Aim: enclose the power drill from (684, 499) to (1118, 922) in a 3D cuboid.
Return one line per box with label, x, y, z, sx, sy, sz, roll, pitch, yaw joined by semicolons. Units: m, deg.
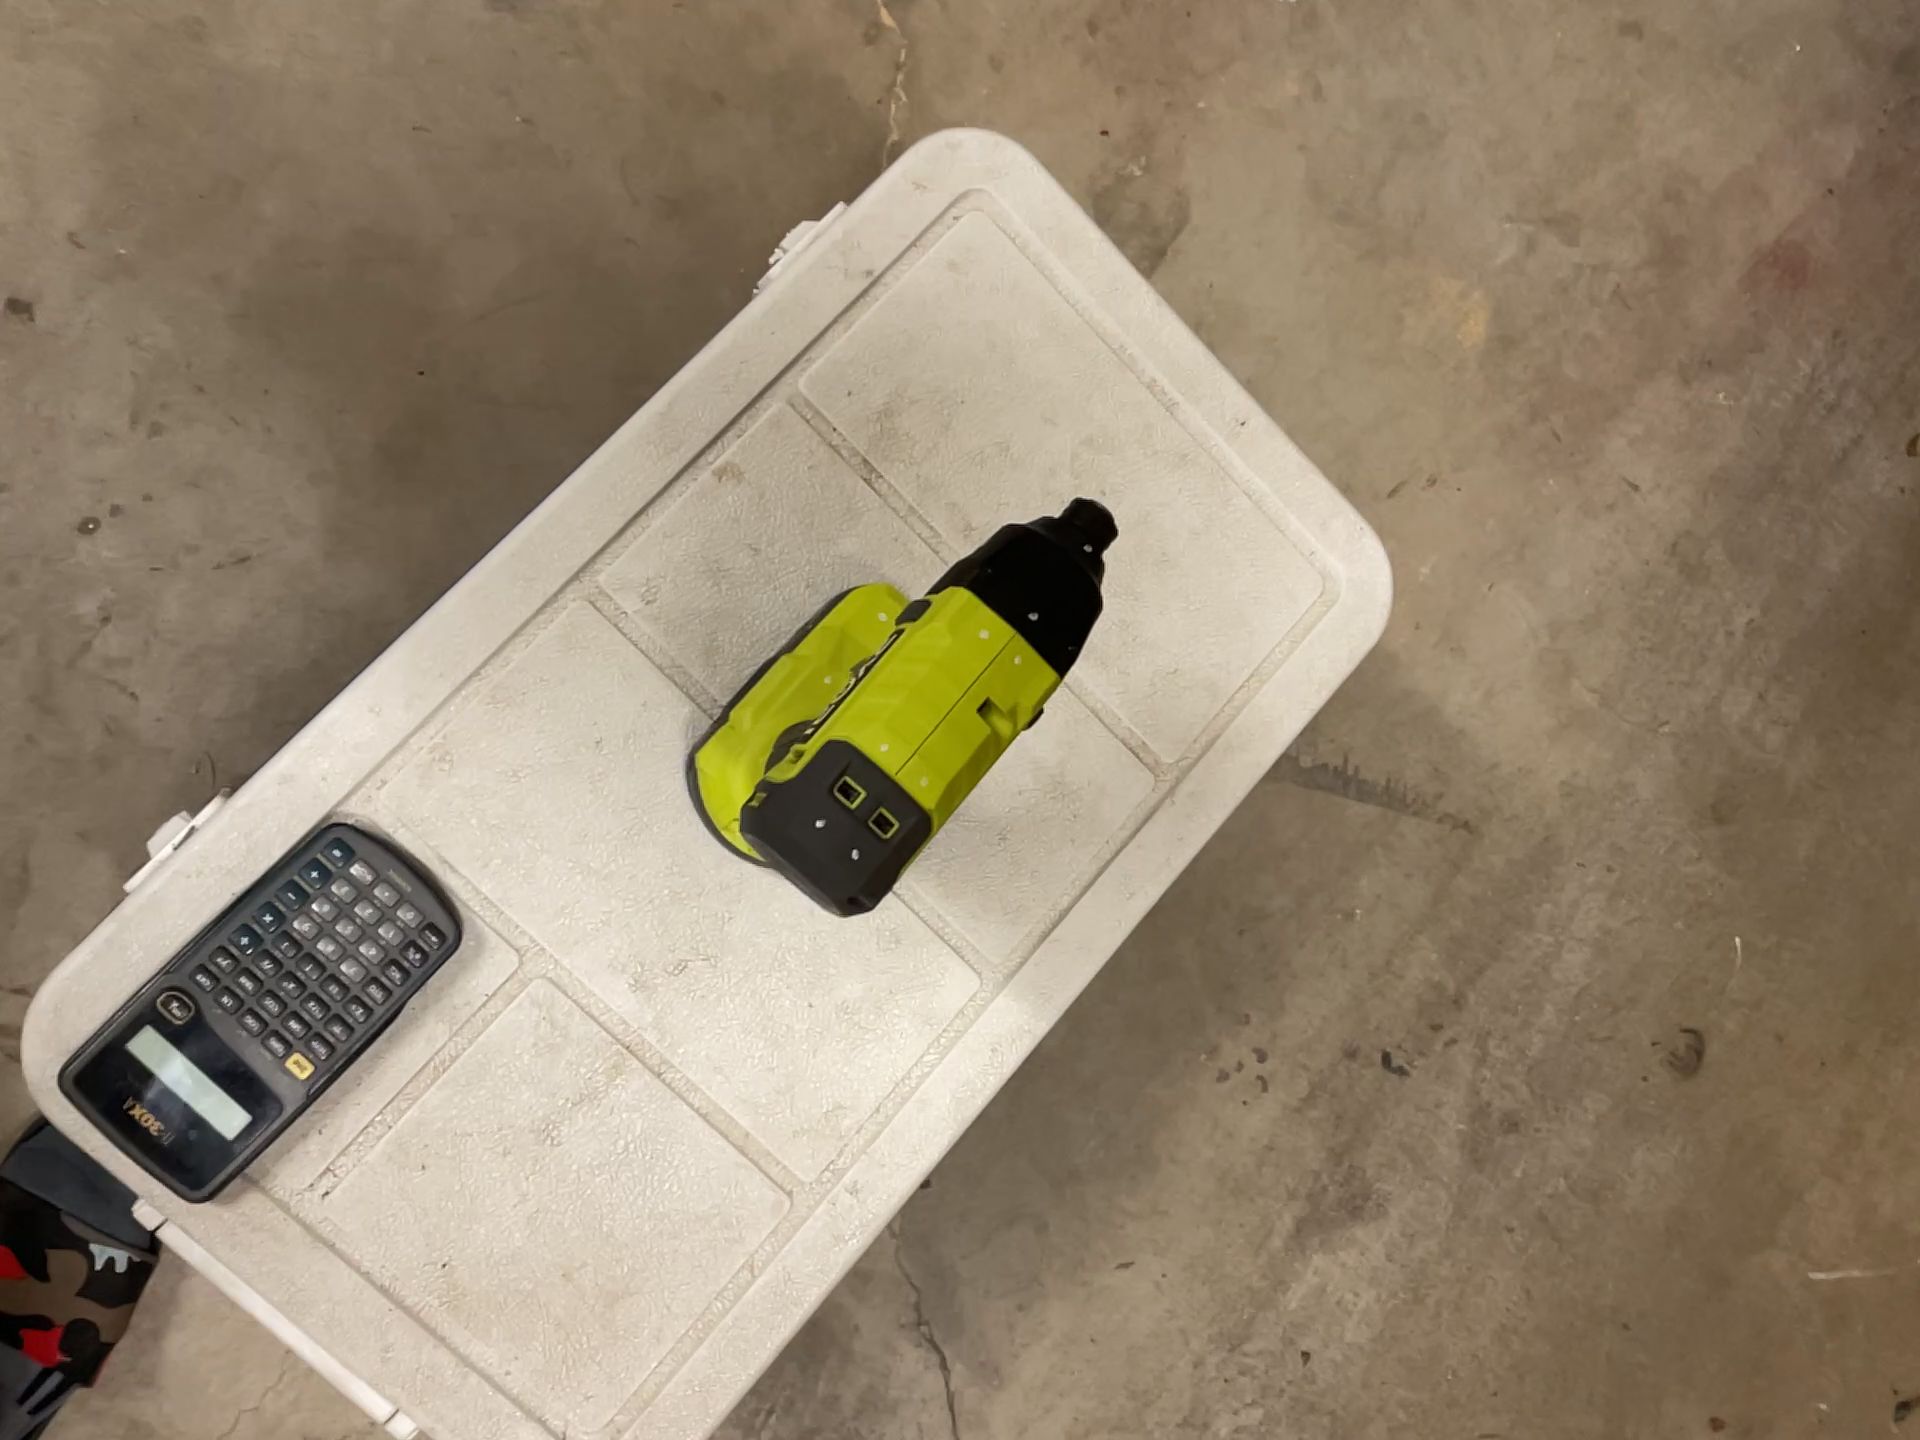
power drill;-0.028;-0.006;0.634;0.080;0.223;0.171;43;75;-11
